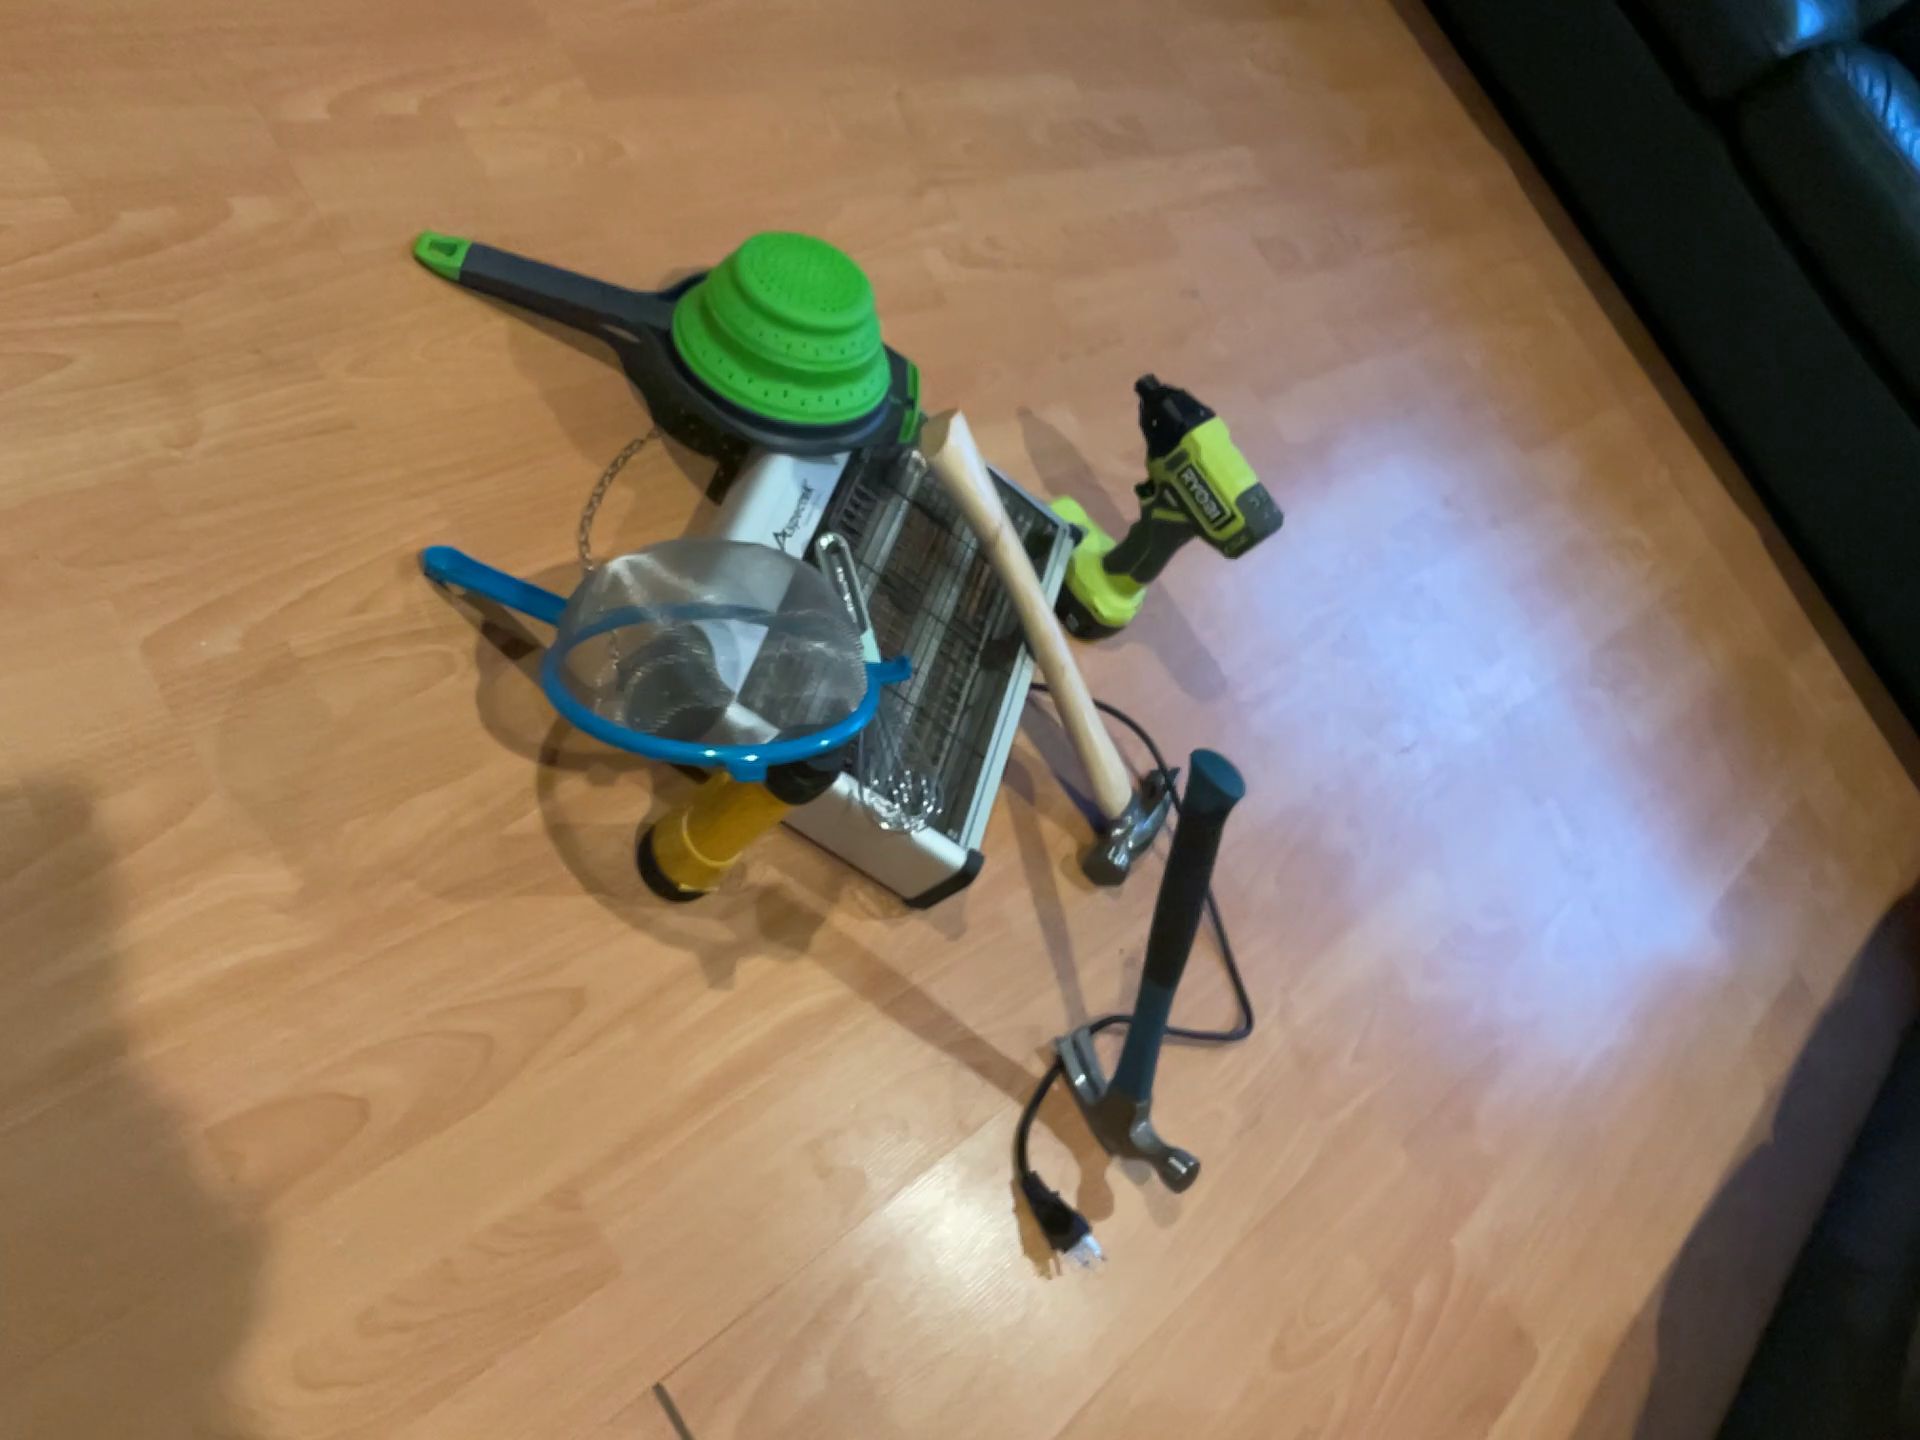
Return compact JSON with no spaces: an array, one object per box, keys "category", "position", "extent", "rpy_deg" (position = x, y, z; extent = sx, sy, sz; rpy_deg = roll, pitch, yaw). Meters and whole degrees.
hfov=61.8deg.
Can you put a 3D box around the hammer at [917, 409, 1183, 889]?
[{"category":"hammer","position":[0.073,-0.065,1.291],"extent":[0.146,0.038,0.410],"rpy_deg":[-52,125,-43]}]

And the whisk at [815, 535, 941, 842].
[{"category":"whisk","position":[-0.066,-0.027,1.147],"extent":[0.058,0.059,0.246],"rpy_deg":[-12,67,-11]}]

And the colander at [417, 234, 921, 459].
[{"category":"colander","position":[-0.208,-0.326,1.226],"extent":[0.397,0.094,0.205],"rpy_deg":[15,48,-12]}]

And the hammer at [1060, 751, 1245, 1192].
[{"category":"hammer","position":[0.148,0.175,1.147],"extent":[0.033,0.330,0.128],"rpy_deg":[-17,37,-43]}]

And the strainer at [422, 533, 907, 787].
[{"category":"strainer","position":[-0.208,-0.082,1.022],"extent":[0.340,0.095,0.211],"rpy_deg":[23,30,19]}]

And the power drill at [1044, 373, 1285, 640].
[{"category":"power drill","position":[0.155,-0.181,1.399],"extent":[0.080,0.223,0.171],"rpy_deg":[-33,87,-45]}]
